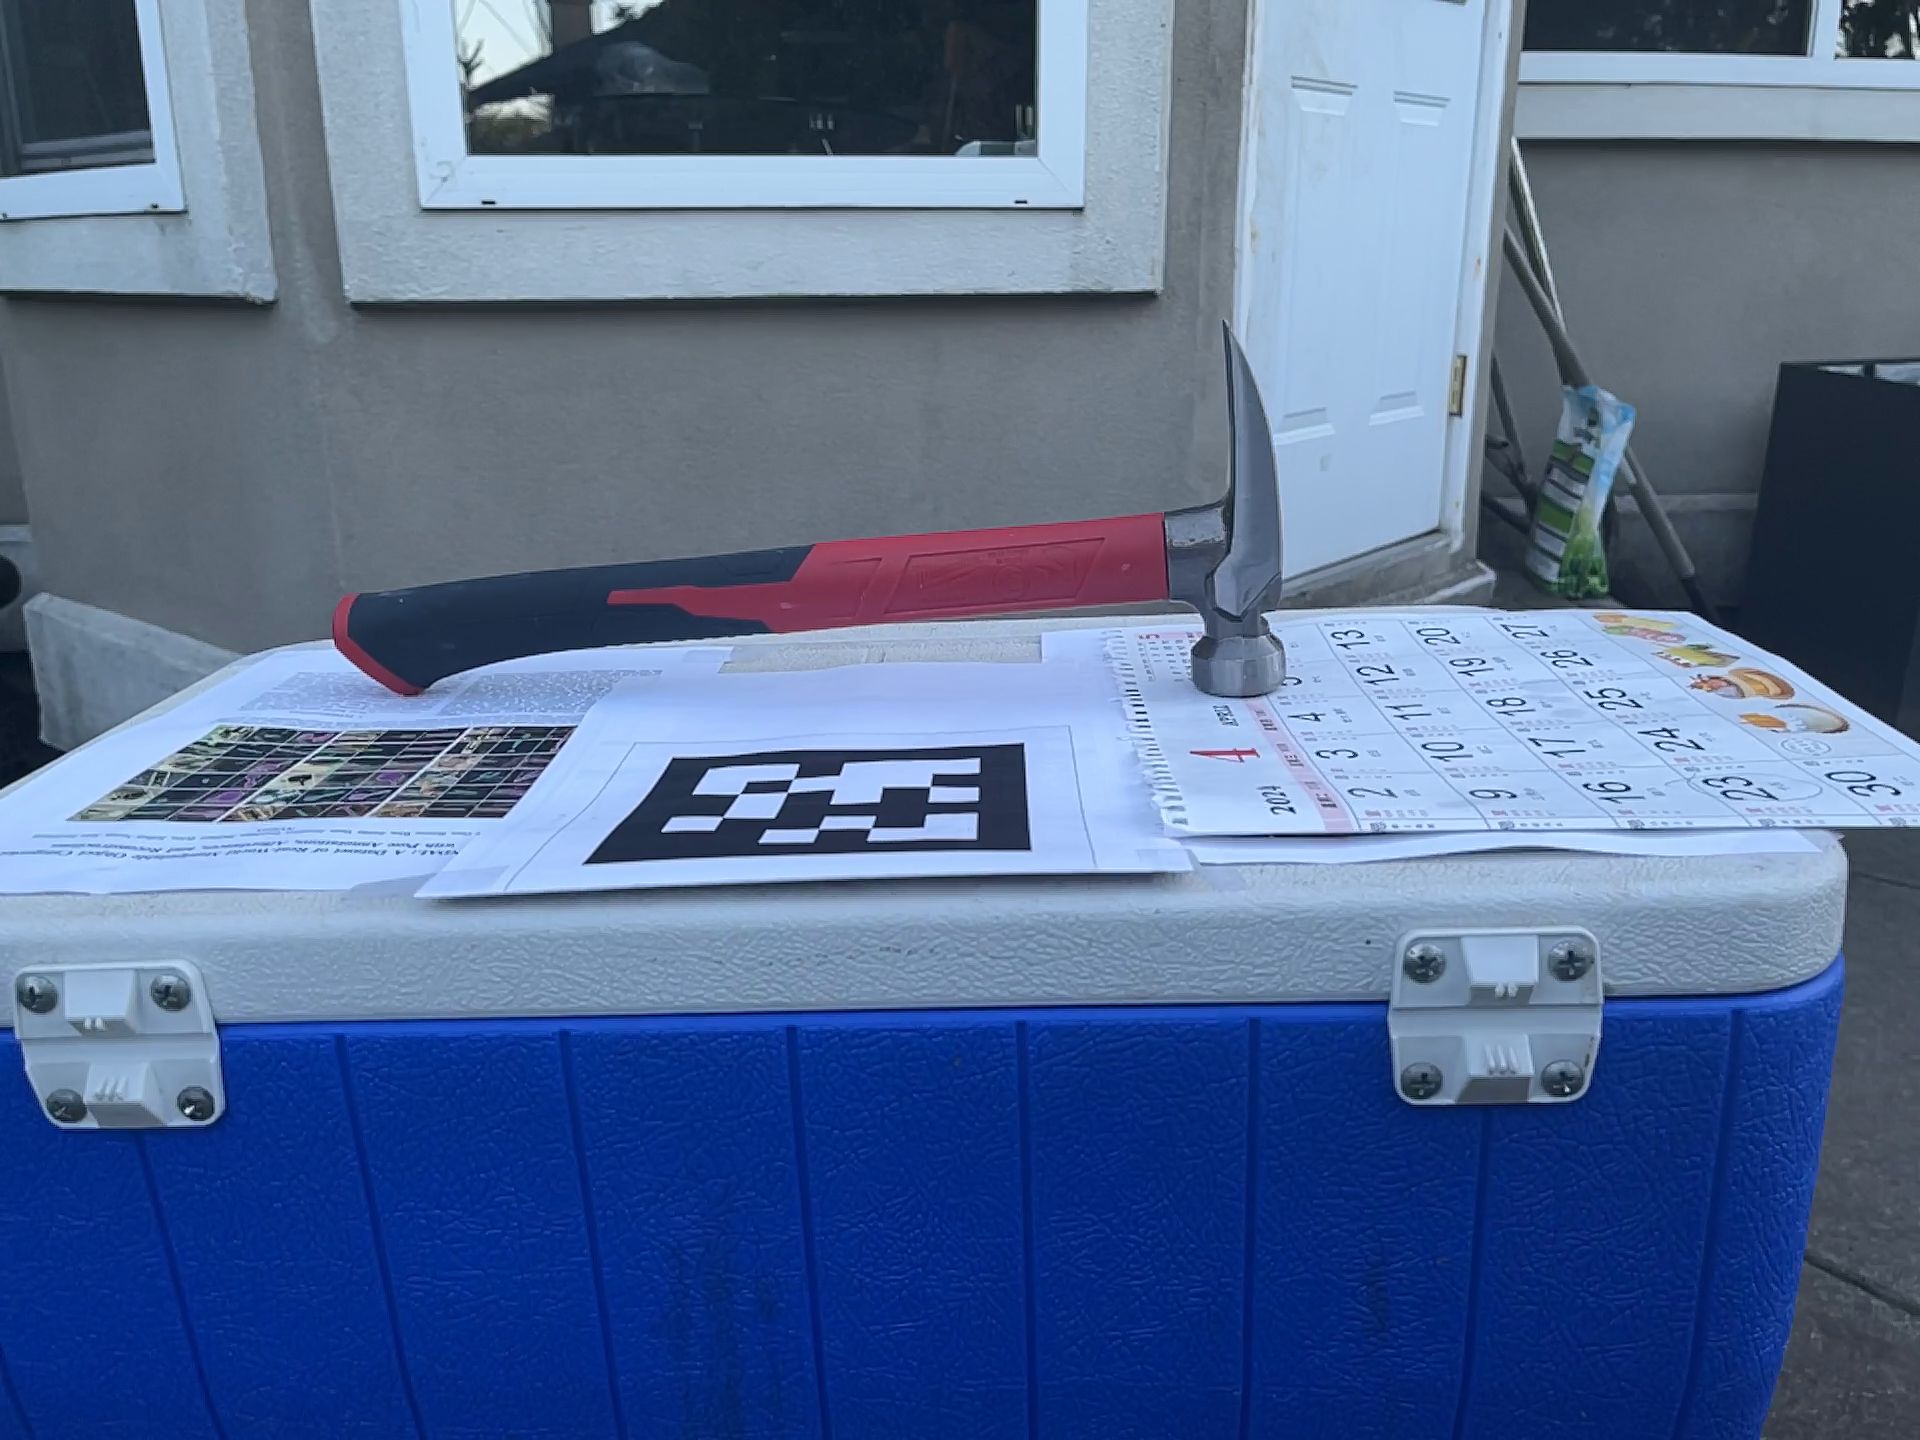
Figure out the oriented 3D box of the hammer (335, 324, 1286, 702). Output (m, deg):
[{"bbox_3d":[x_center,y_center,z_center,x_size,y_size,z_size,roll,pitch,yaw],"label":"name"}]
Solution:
[{"bbox_3d":[-0.068,-0.067,0.622,0.386,0.143,0.038,-4,17,8],"label":"hammer"}]
